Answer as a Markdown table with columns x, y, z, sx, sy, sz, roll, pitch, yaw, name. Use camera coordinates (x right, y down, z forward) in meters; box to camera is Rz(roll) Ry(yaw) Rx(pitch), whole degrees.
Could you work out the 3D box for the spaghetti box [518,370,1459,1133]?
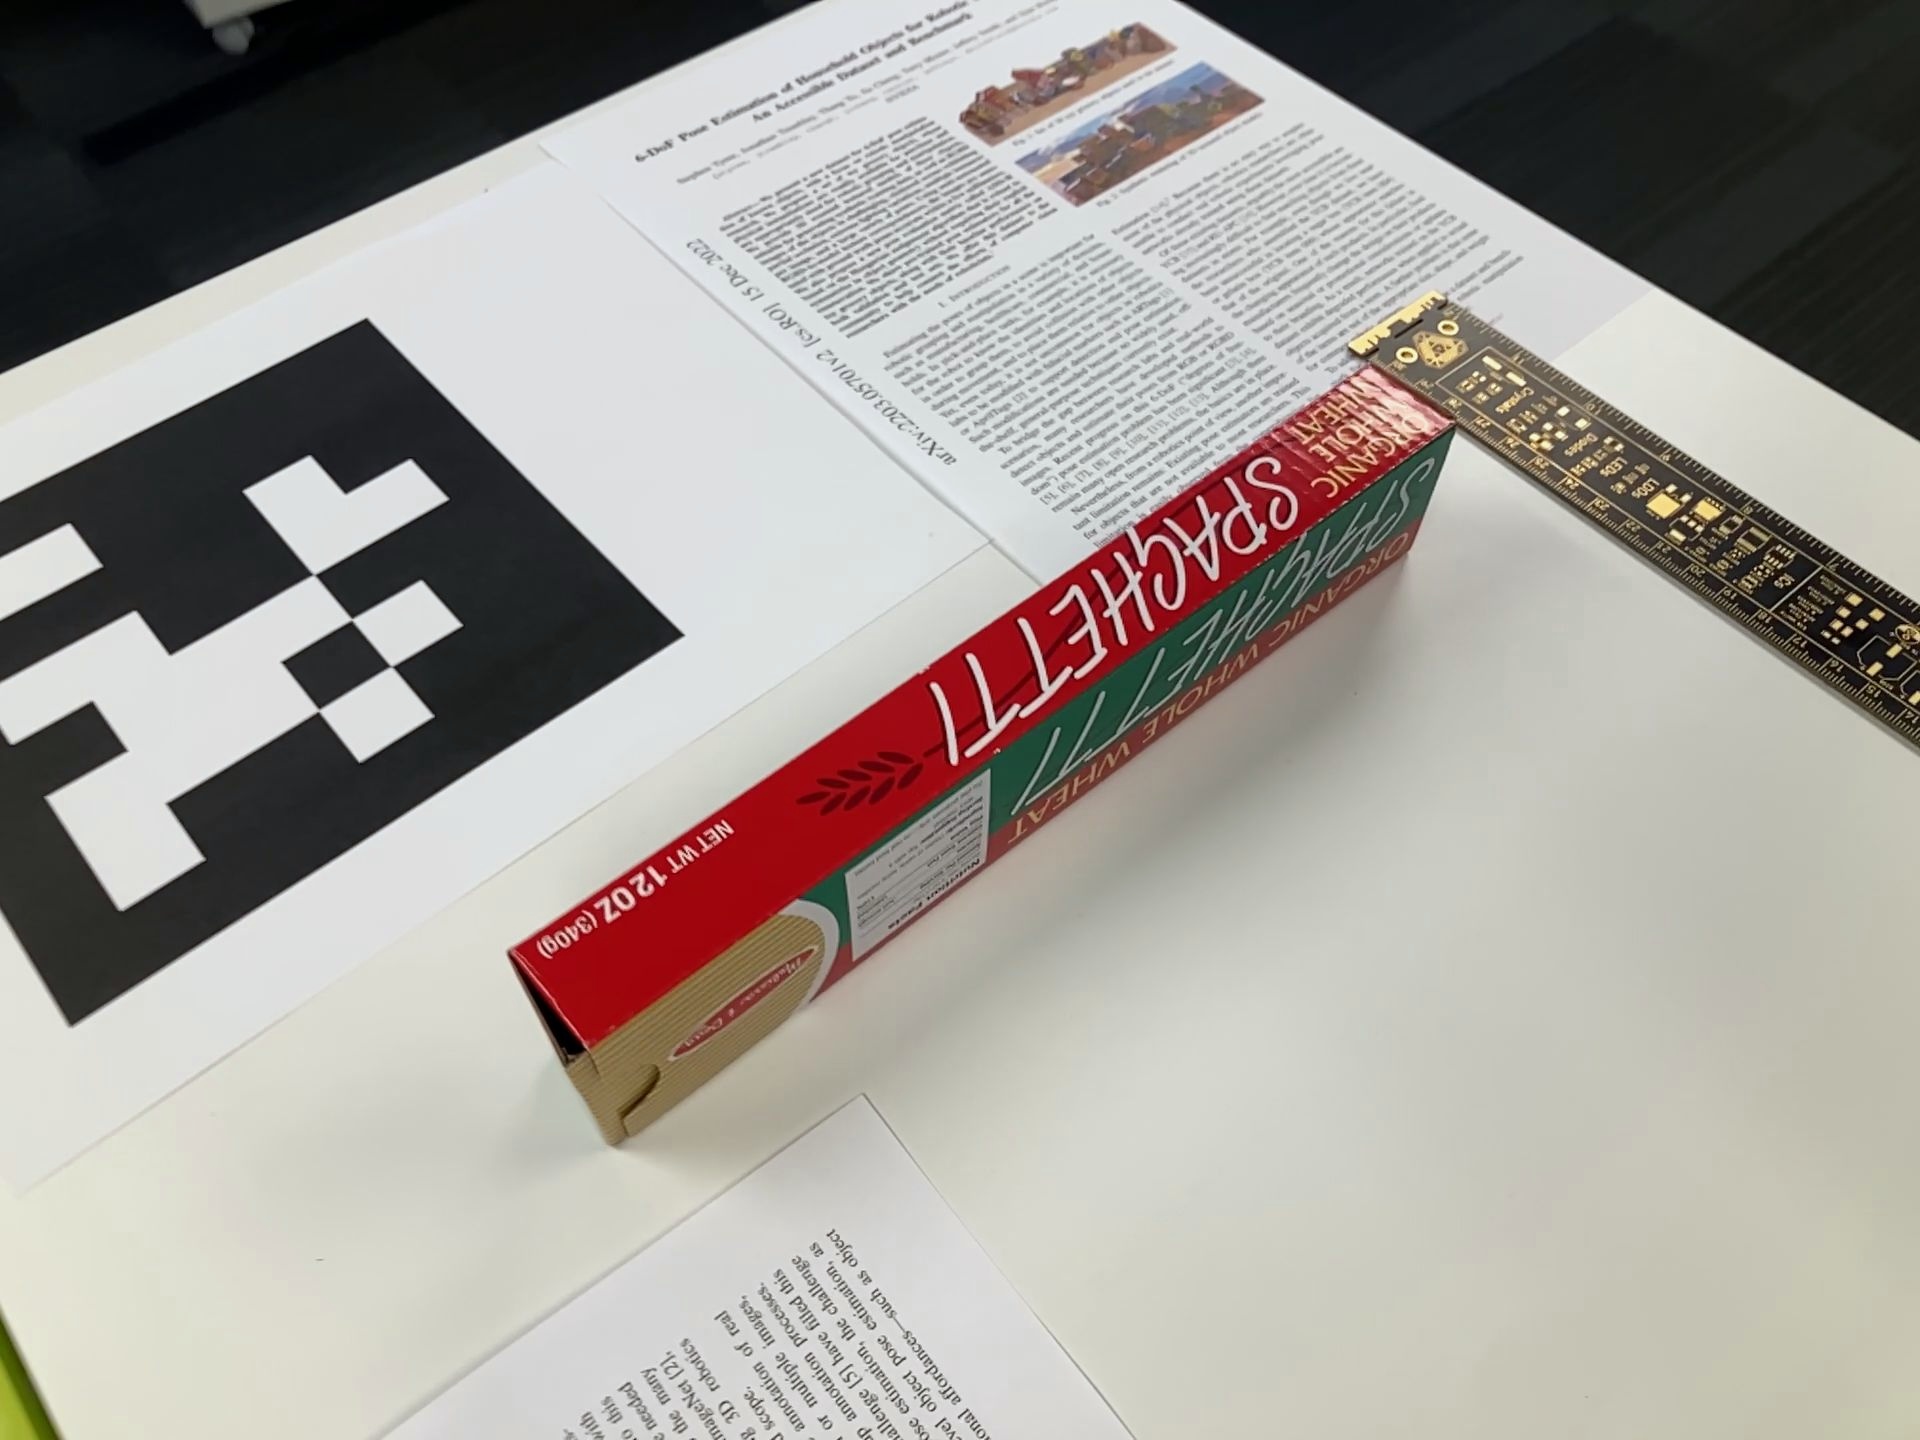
| x | y | z | sx | sy | sz | roll | pitch | yaw | name |
| --- | --- | --- | --- | --- | --- | --- | --- | --- | --- |
| 0.018 | -0.001 | 0.361 | 0.250 | 0.050 | 0.028 | -35 | 64 | -22 | spaghetti box |
